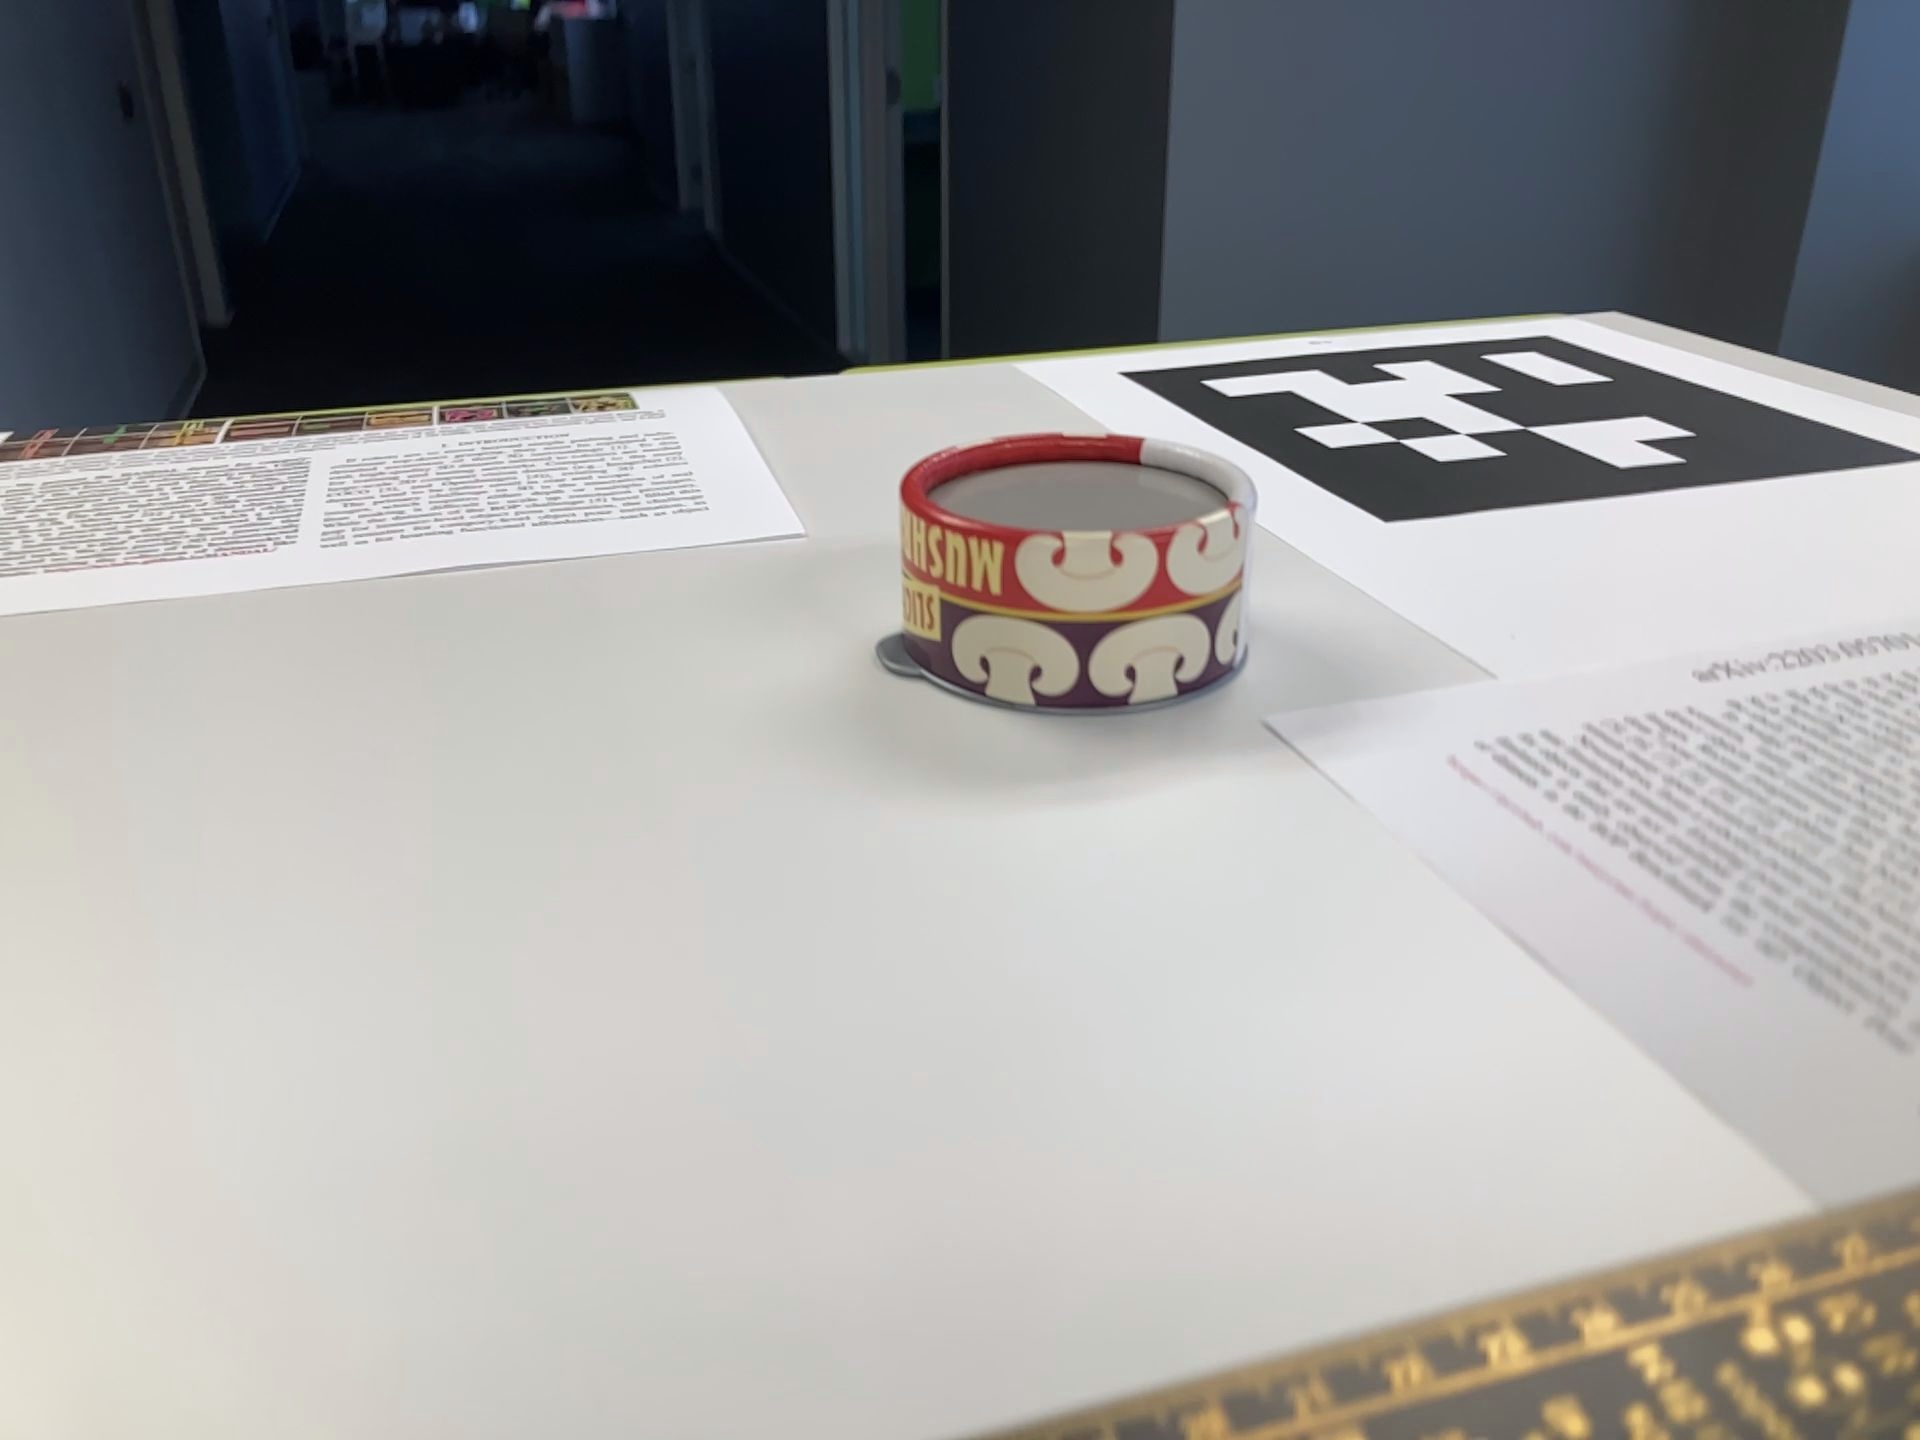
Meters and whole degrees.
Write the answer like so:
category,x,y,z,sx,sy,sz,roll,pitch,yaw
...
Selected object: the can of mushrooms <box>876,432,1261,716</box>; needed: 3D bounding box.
category,x,y,z,sx,sy,sz,roll,pitch,yaw
can of mushrooms,0.019,-0.029,0.291,0.071,0.033,0.071,-1,26,0
